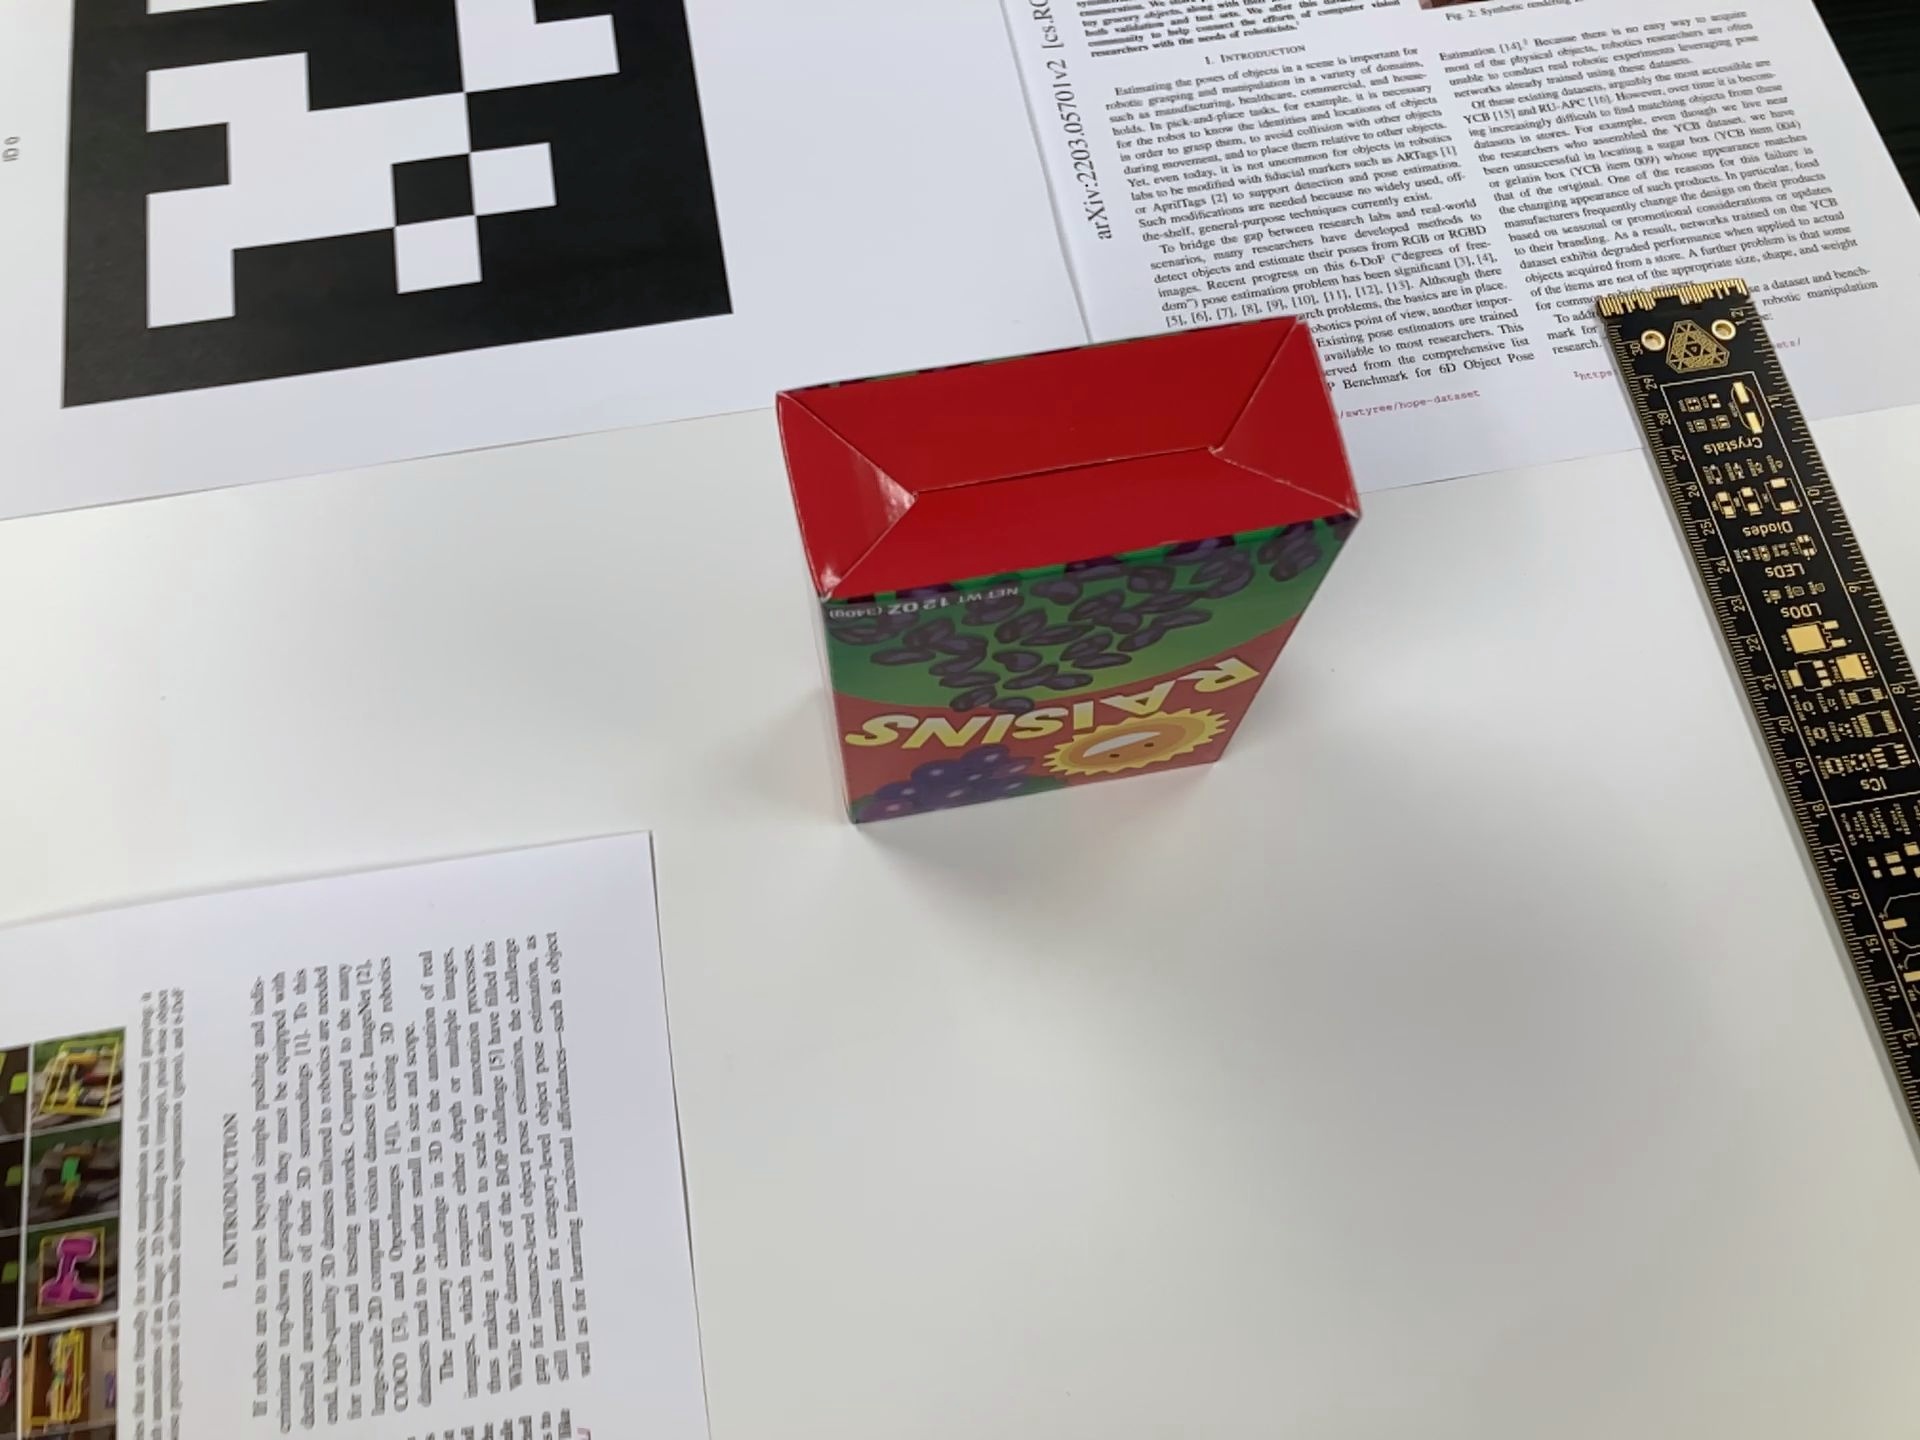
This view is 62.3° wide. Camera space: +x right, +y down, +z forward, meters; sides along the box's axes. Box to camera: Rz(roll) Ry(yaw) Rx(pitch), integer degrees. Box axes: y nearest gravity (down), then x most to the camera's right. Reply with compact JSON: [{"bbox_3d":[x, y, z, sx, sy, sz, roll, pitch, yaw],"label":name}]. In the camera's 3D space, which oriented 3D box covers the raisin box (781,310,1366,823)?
[{"bbox_3d":[0.015,-0.021,0.296,0.086,0.123,0.040,-10,71,-5],"label":"raisin box"}]
